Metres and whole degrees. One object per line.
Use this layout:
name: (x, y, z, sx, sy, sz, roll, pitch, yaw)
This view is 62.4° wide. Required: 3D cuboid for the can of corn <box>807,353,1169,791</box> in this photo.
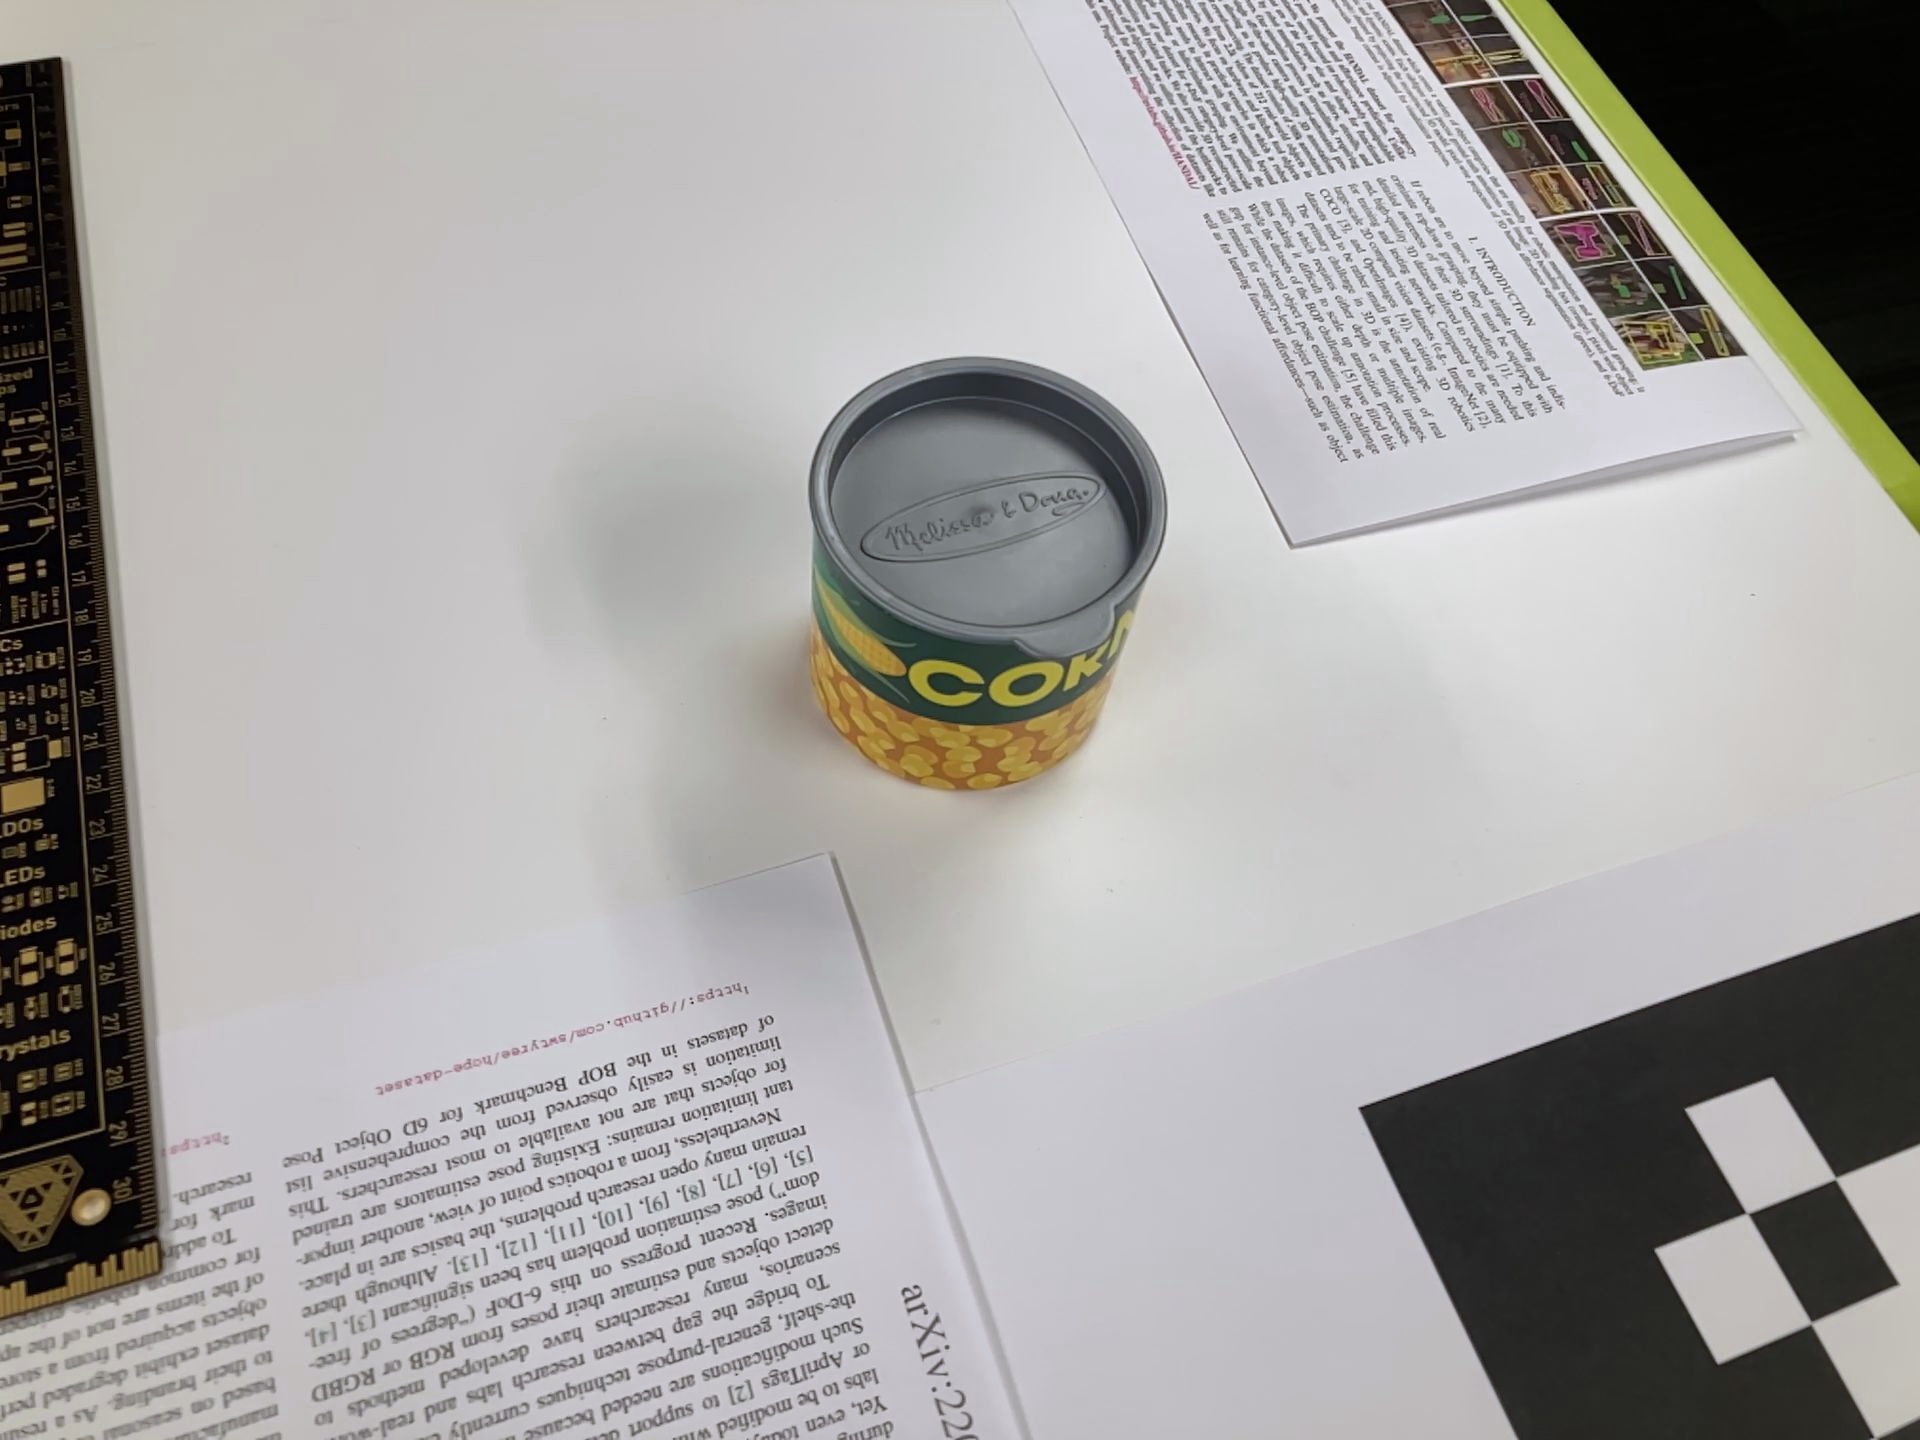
can of corn: (0.004, -0.026, 0.312, 0.071, 0.058, 0.071, 3, 59, -5)
